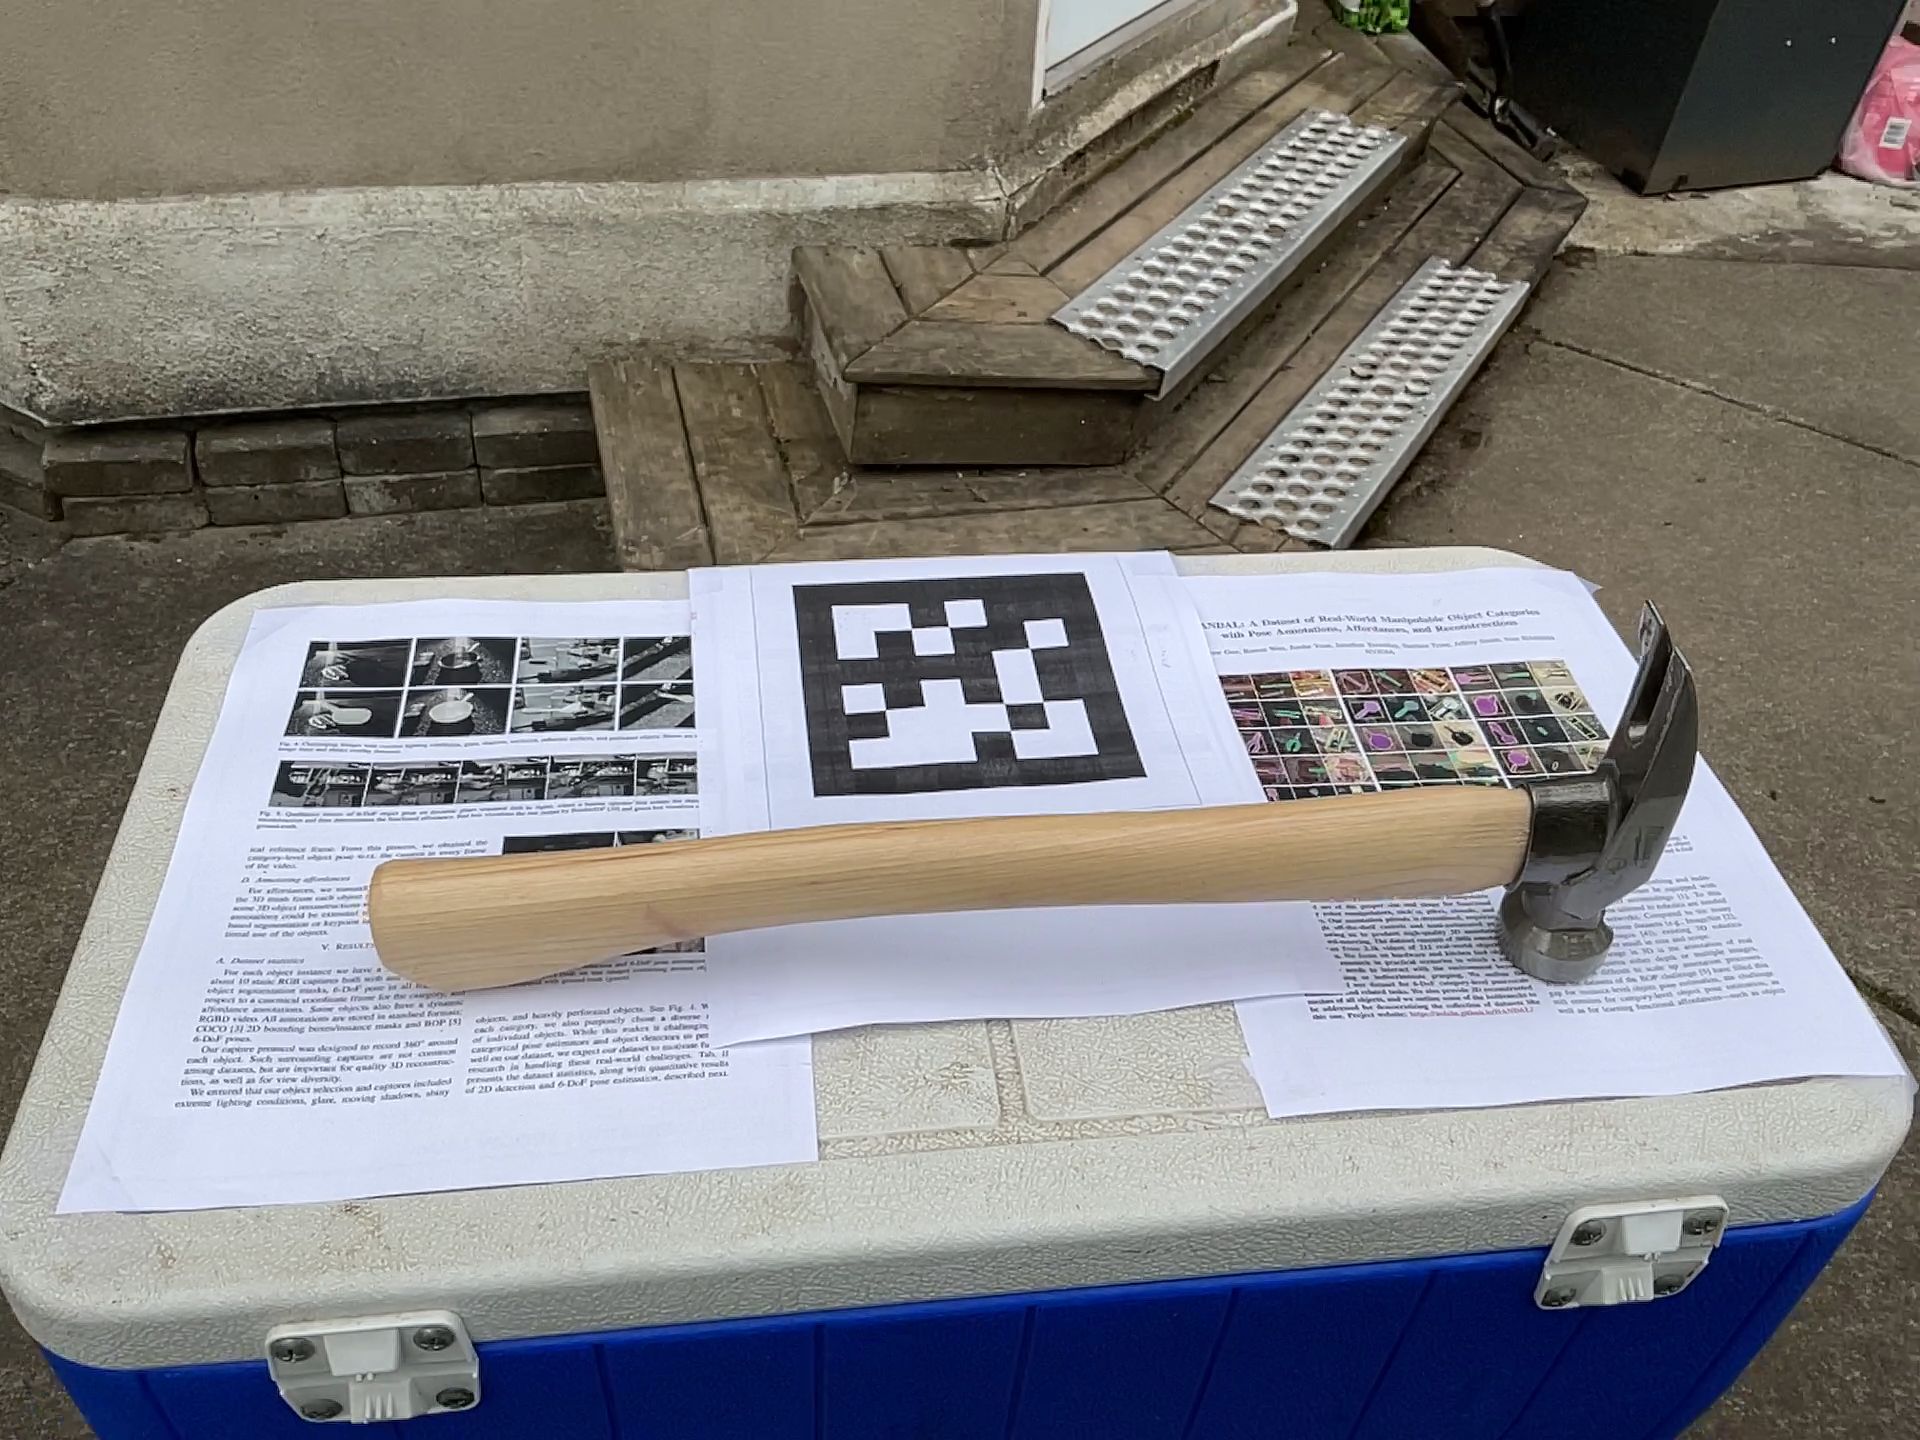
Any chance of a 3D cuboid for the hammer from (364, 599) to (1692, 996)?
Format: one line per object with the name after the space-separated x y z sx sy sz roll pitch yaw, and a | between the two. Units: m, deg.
0.019 0.041 0.508 0.410 0.146 0.038 -4 43 -2 | hammer
